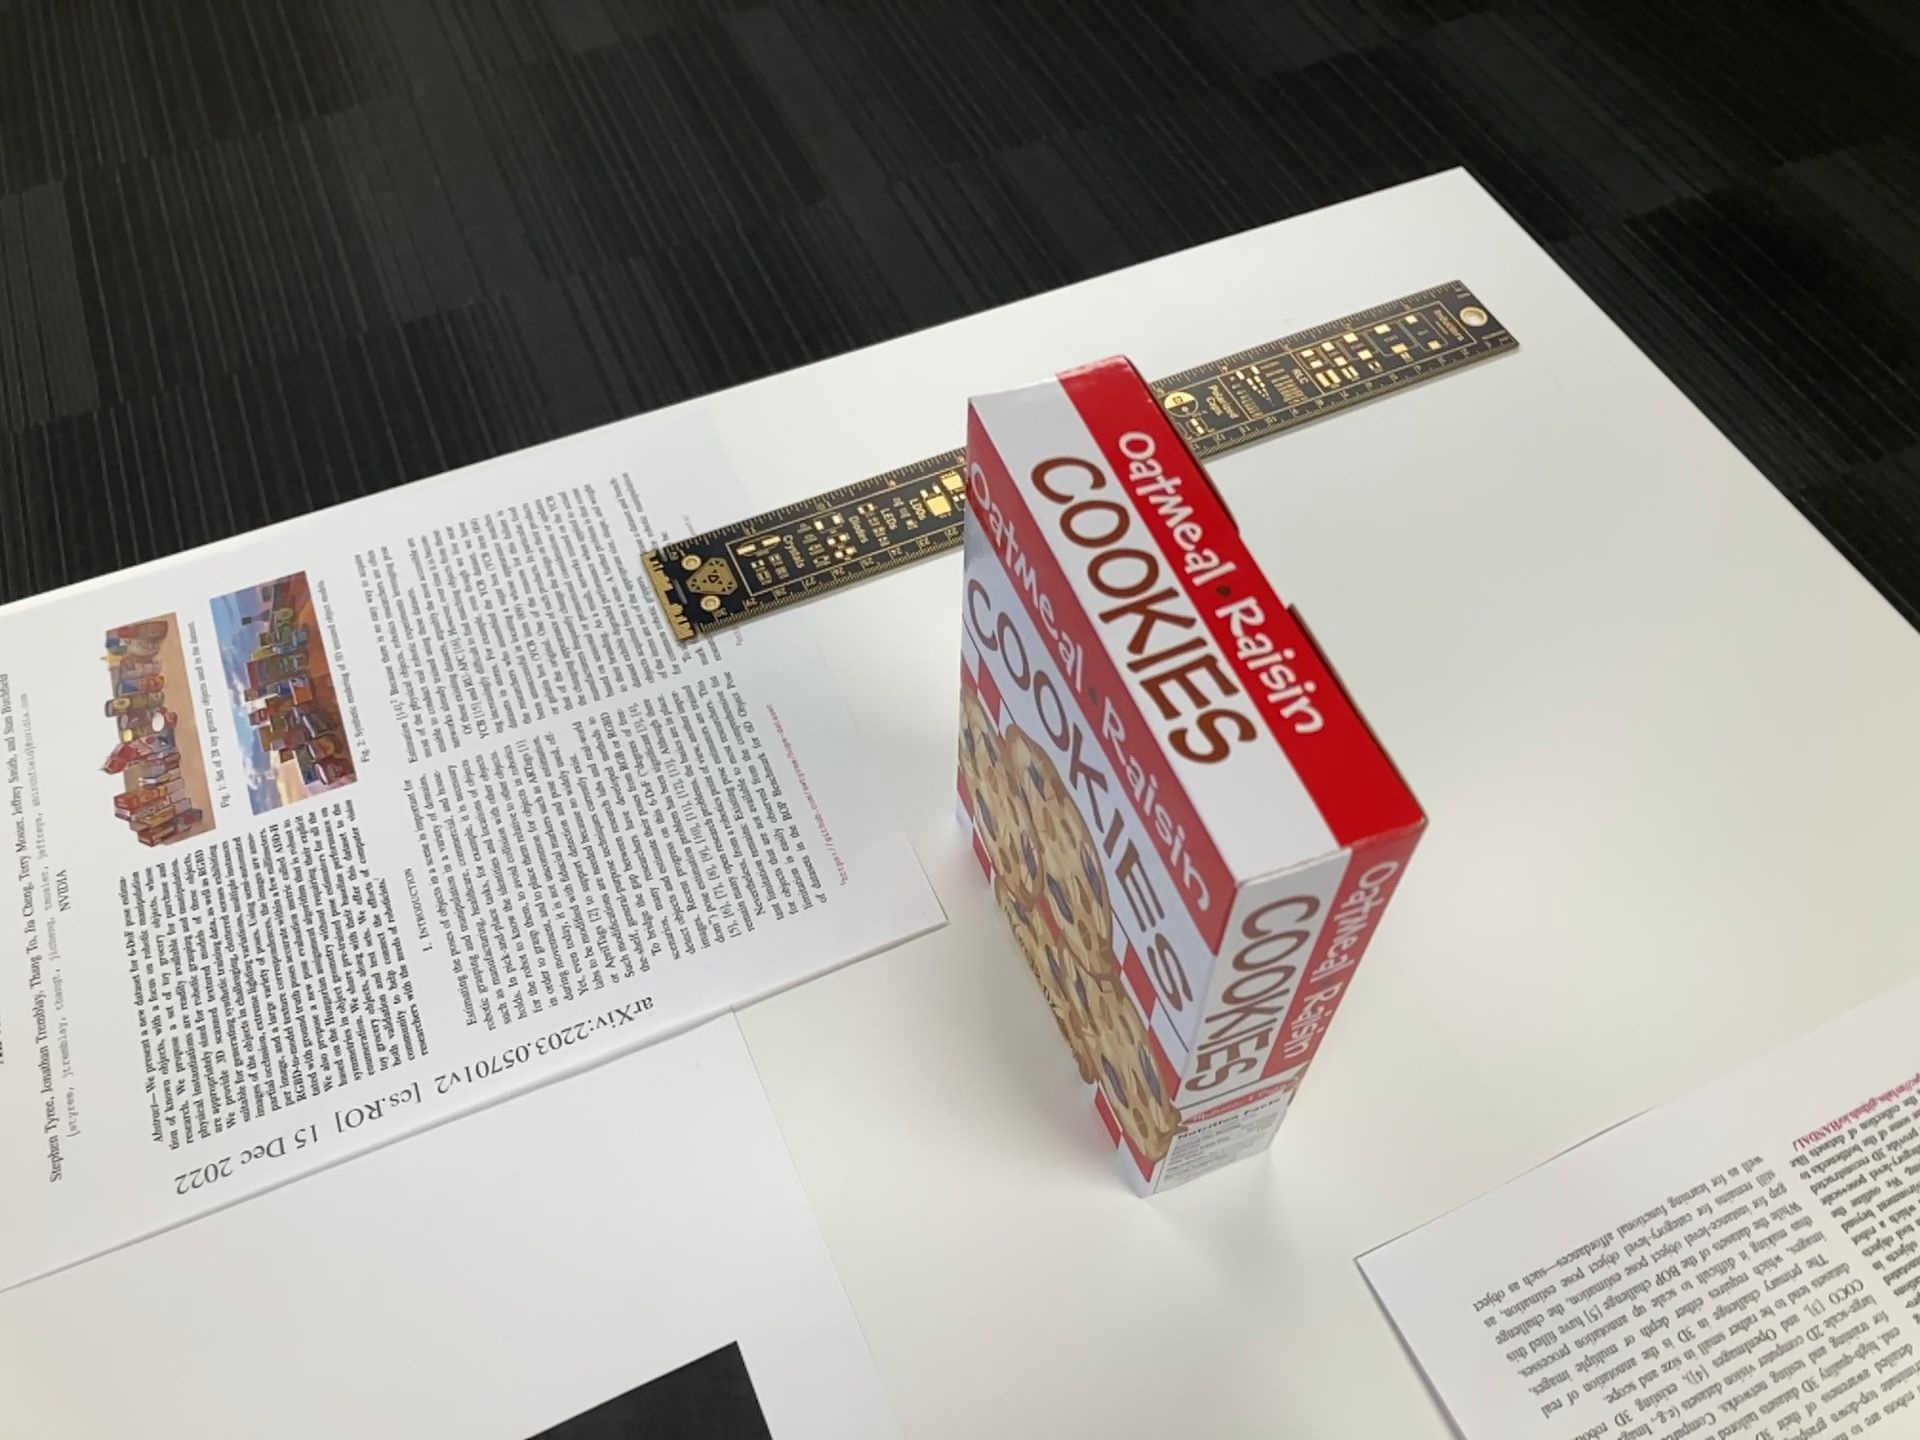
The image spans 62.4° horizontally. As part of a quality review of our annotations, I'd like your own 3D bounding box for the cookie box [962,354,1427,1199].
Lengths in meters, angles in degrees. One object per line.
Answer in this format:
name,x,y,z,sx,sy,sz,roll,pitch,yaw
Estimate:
cookie box,0.041,0.021,0.362,0.040,0.167,0.123,-18,58,-12
